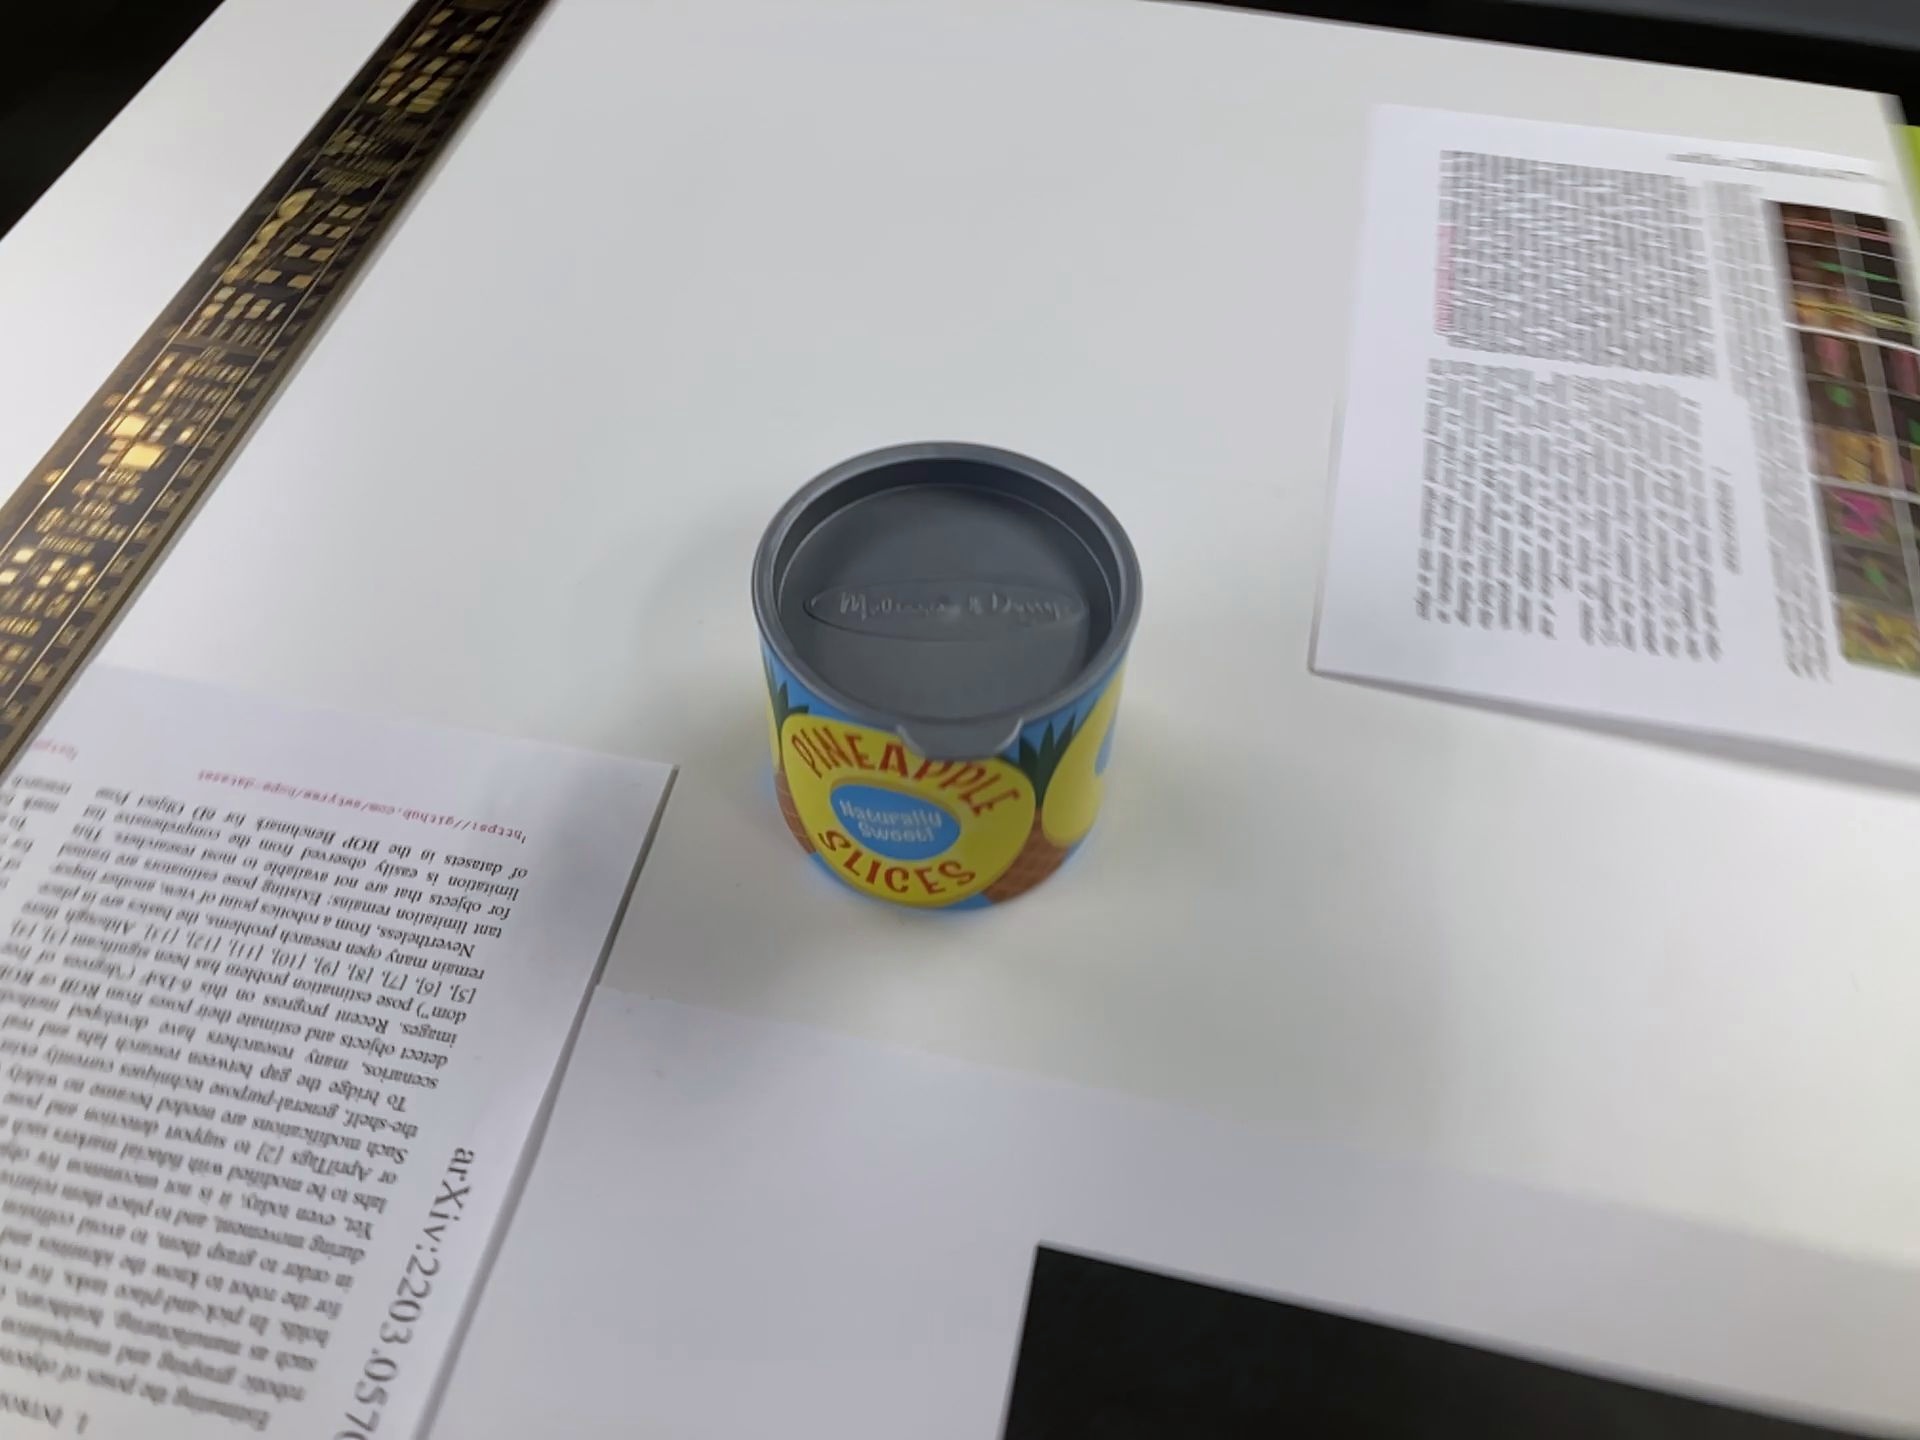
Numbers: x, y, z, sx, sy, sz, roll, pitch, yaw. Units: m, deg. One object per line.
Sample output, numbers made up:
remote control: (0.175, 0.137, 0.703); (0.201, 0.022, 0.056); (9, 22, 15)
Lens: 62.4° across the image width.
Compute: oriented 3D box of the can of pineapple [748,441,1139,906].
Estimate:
can of pineapple: (-0.004, -0.006, 0.290); (0.071, 0.058, 0.071); (0, 53, -1)
